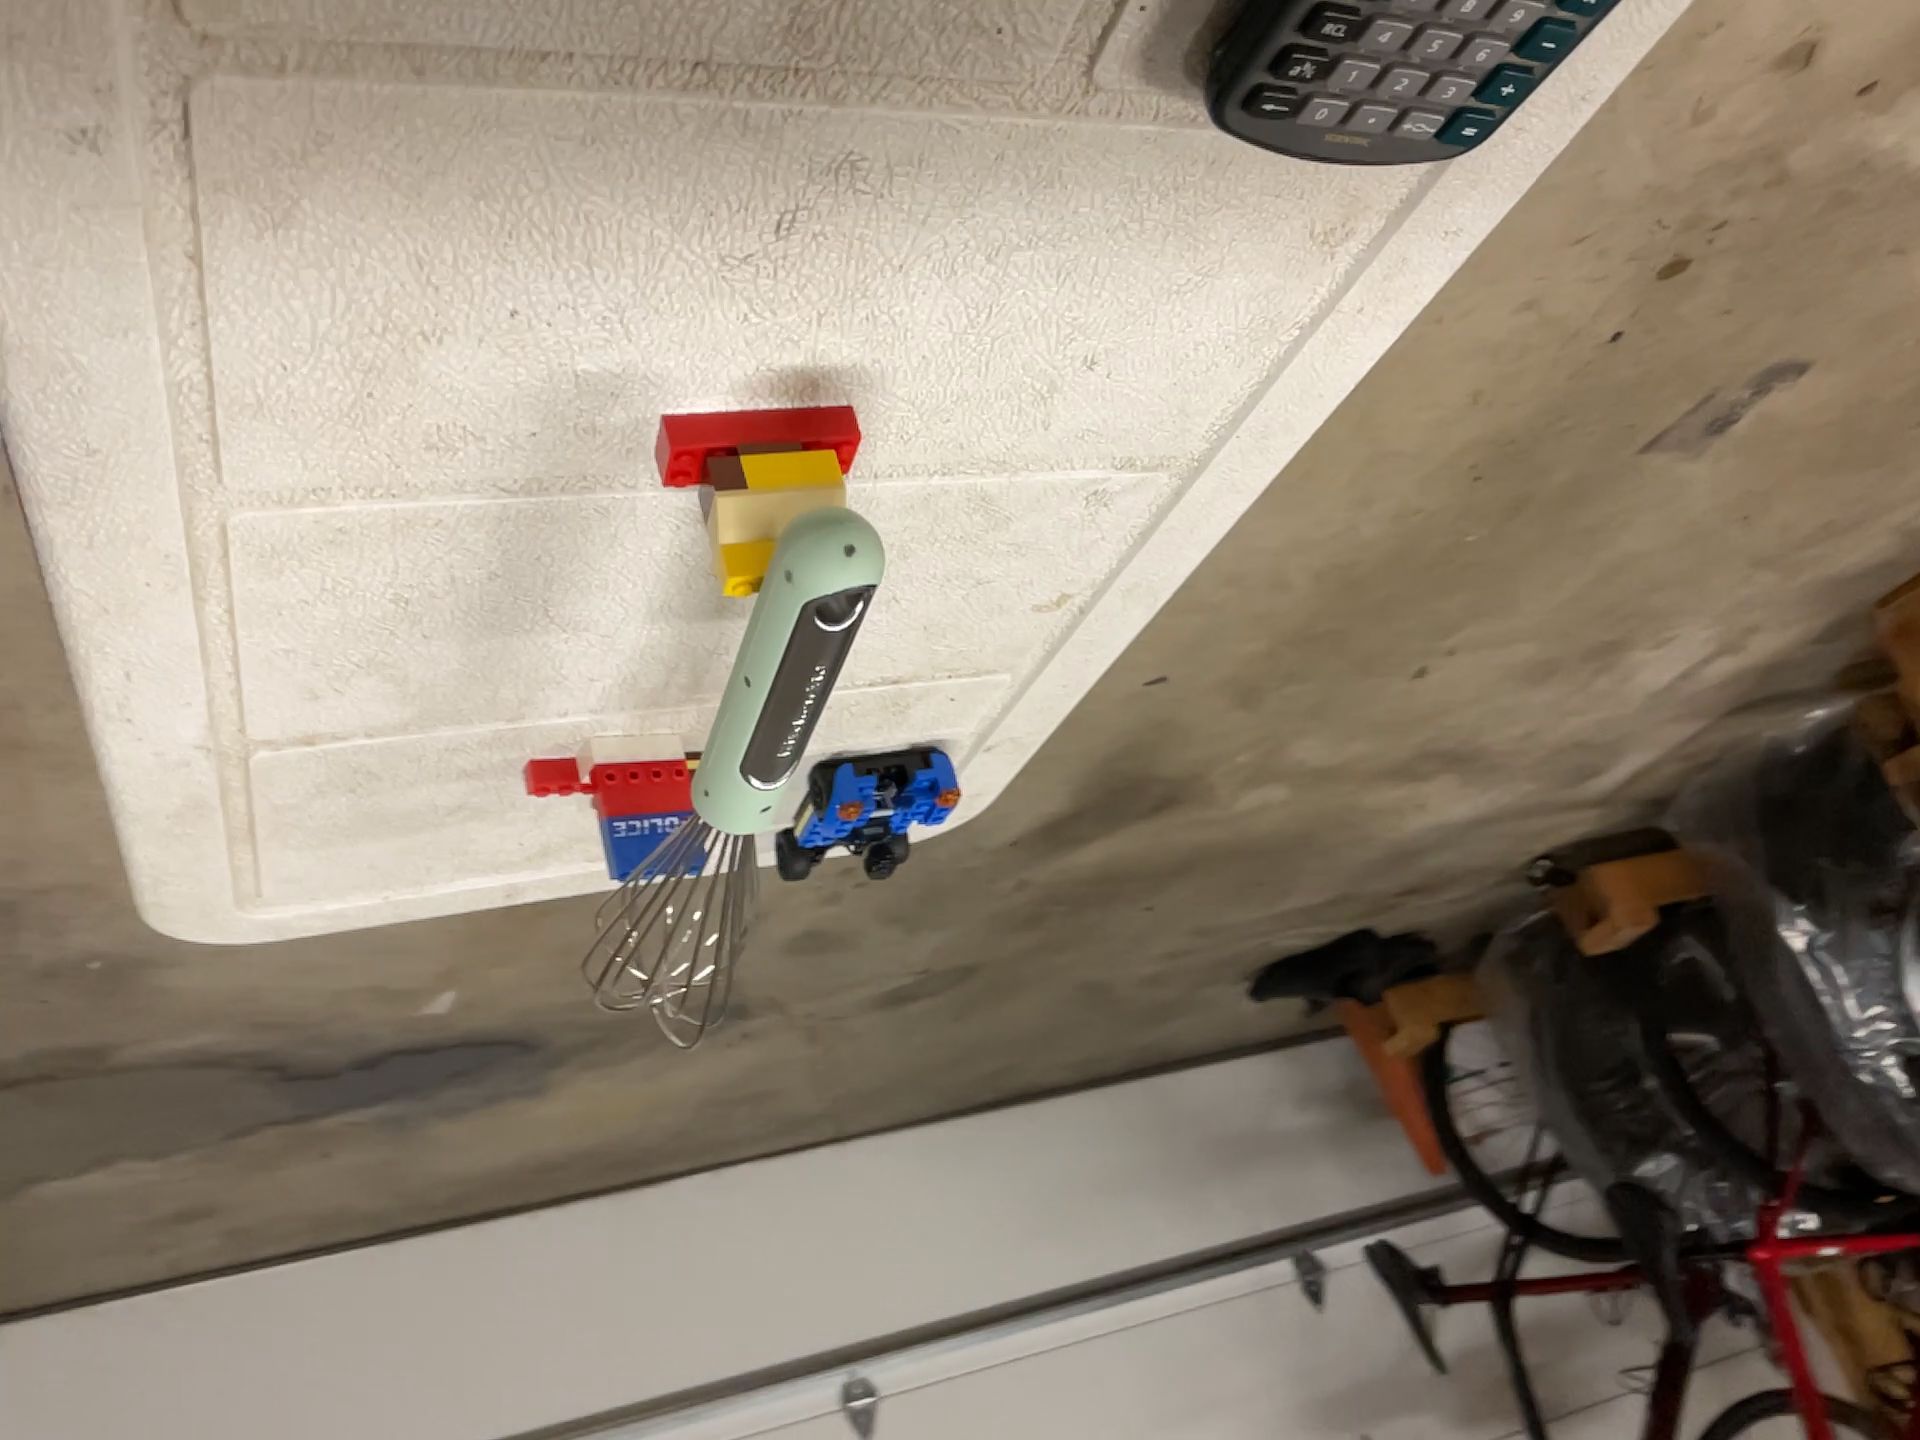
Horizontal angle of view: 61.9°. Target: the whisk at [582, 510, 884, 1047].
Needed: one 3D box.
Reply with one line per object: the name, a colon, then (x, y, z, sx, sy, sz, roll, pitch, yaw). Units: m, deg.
whisk: (-0.065, 0.026, 0.448, 0.058, 0.059, 0.246, -13, 152, -29)
